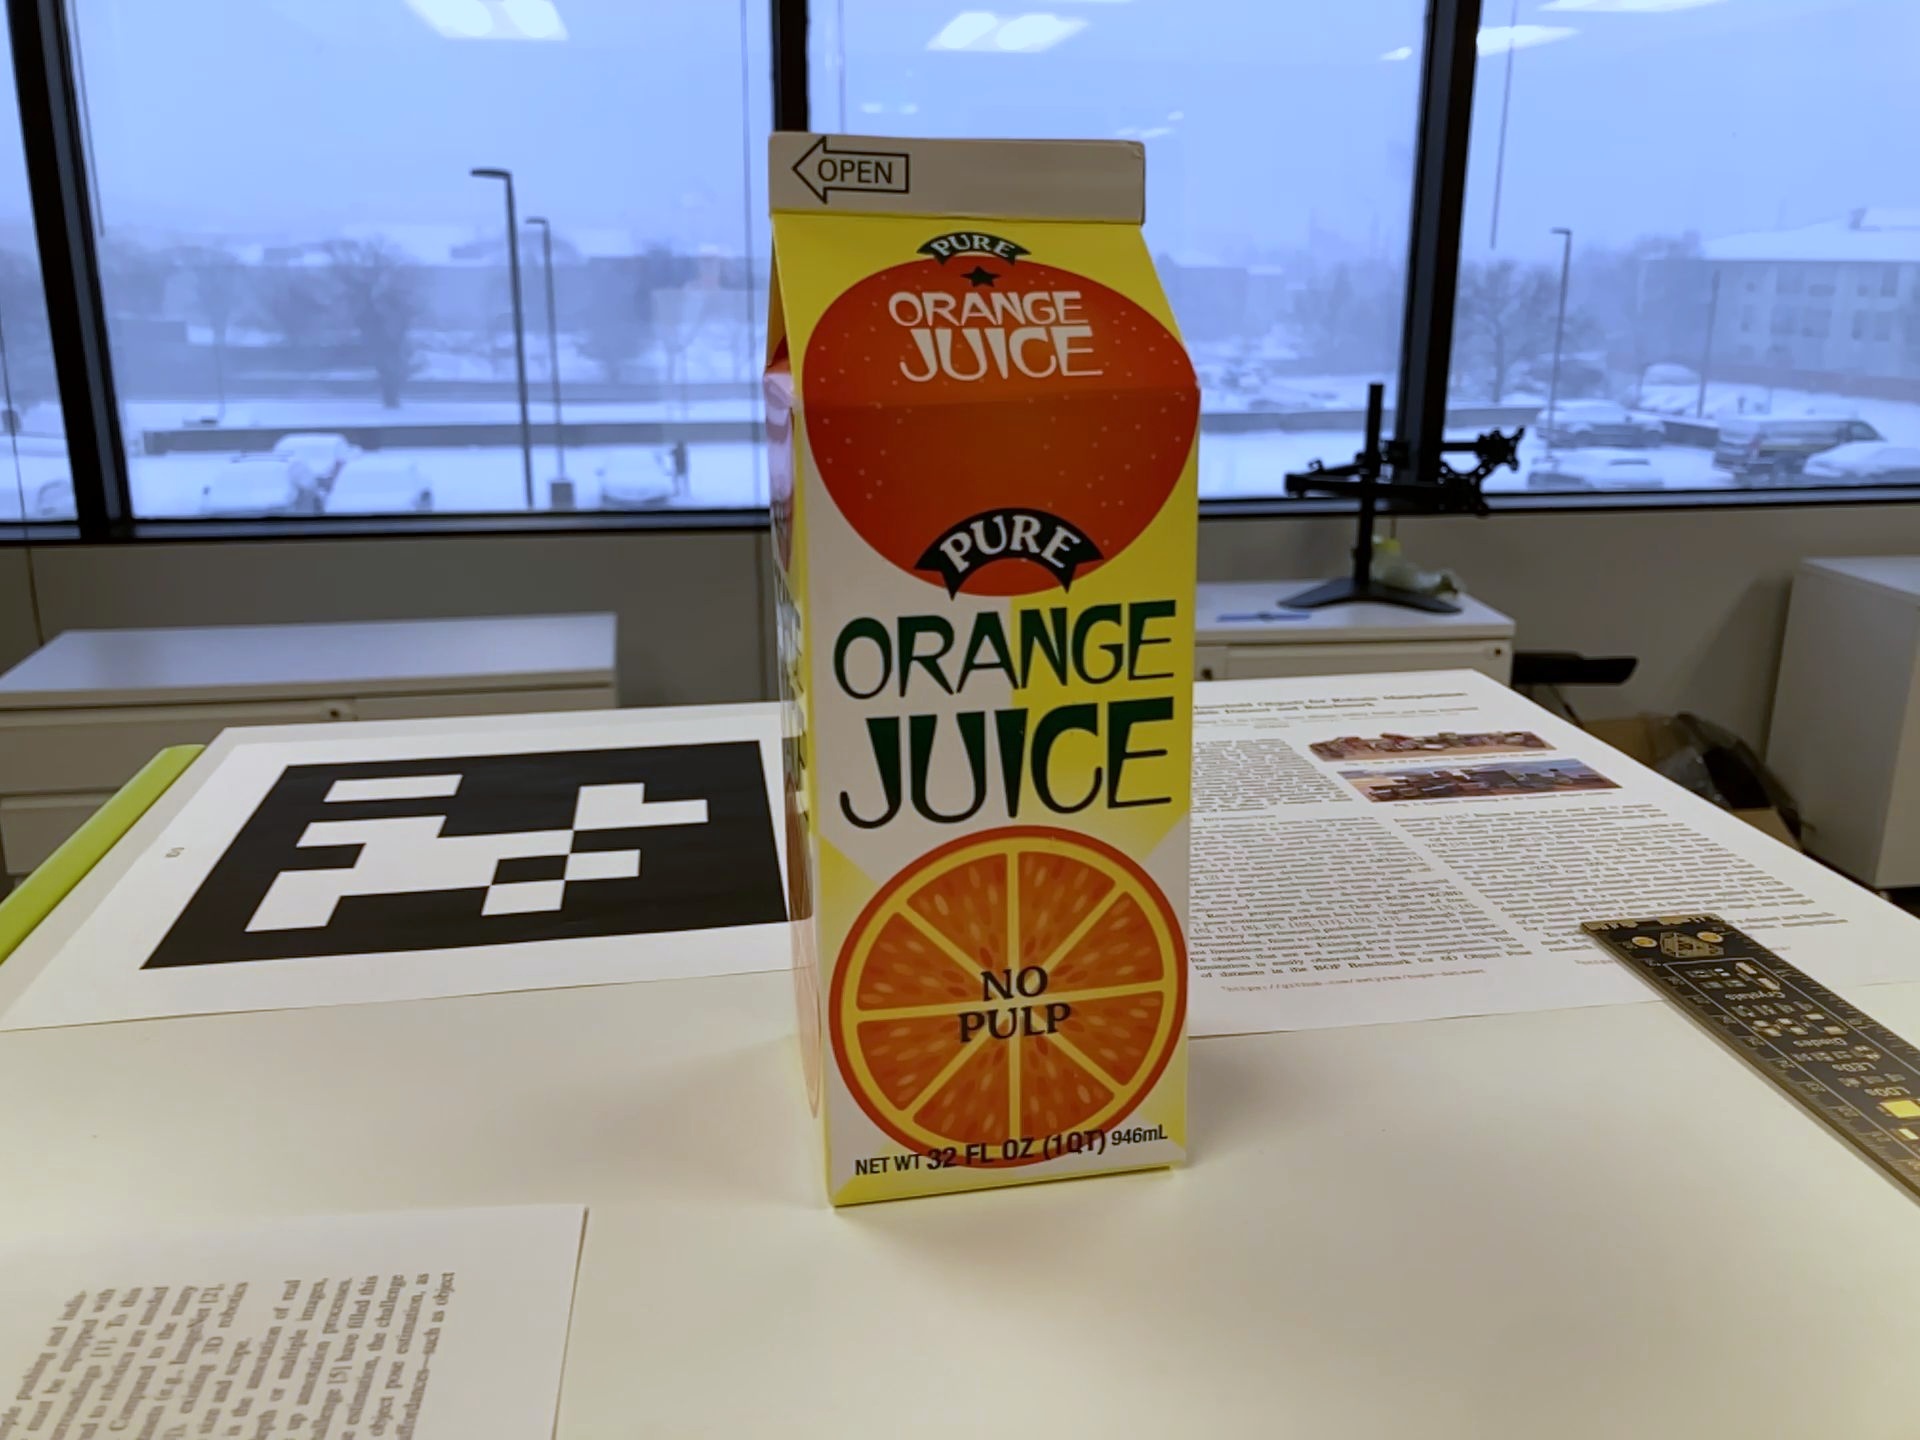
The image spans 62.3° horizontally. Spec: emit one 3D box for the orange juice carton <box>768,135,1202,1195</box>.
[{"bbox_3d":[0.002,-0.013,0.314,0.072,0.192,0.073,-3,14,-10],"label":"orange juice carton"}]
